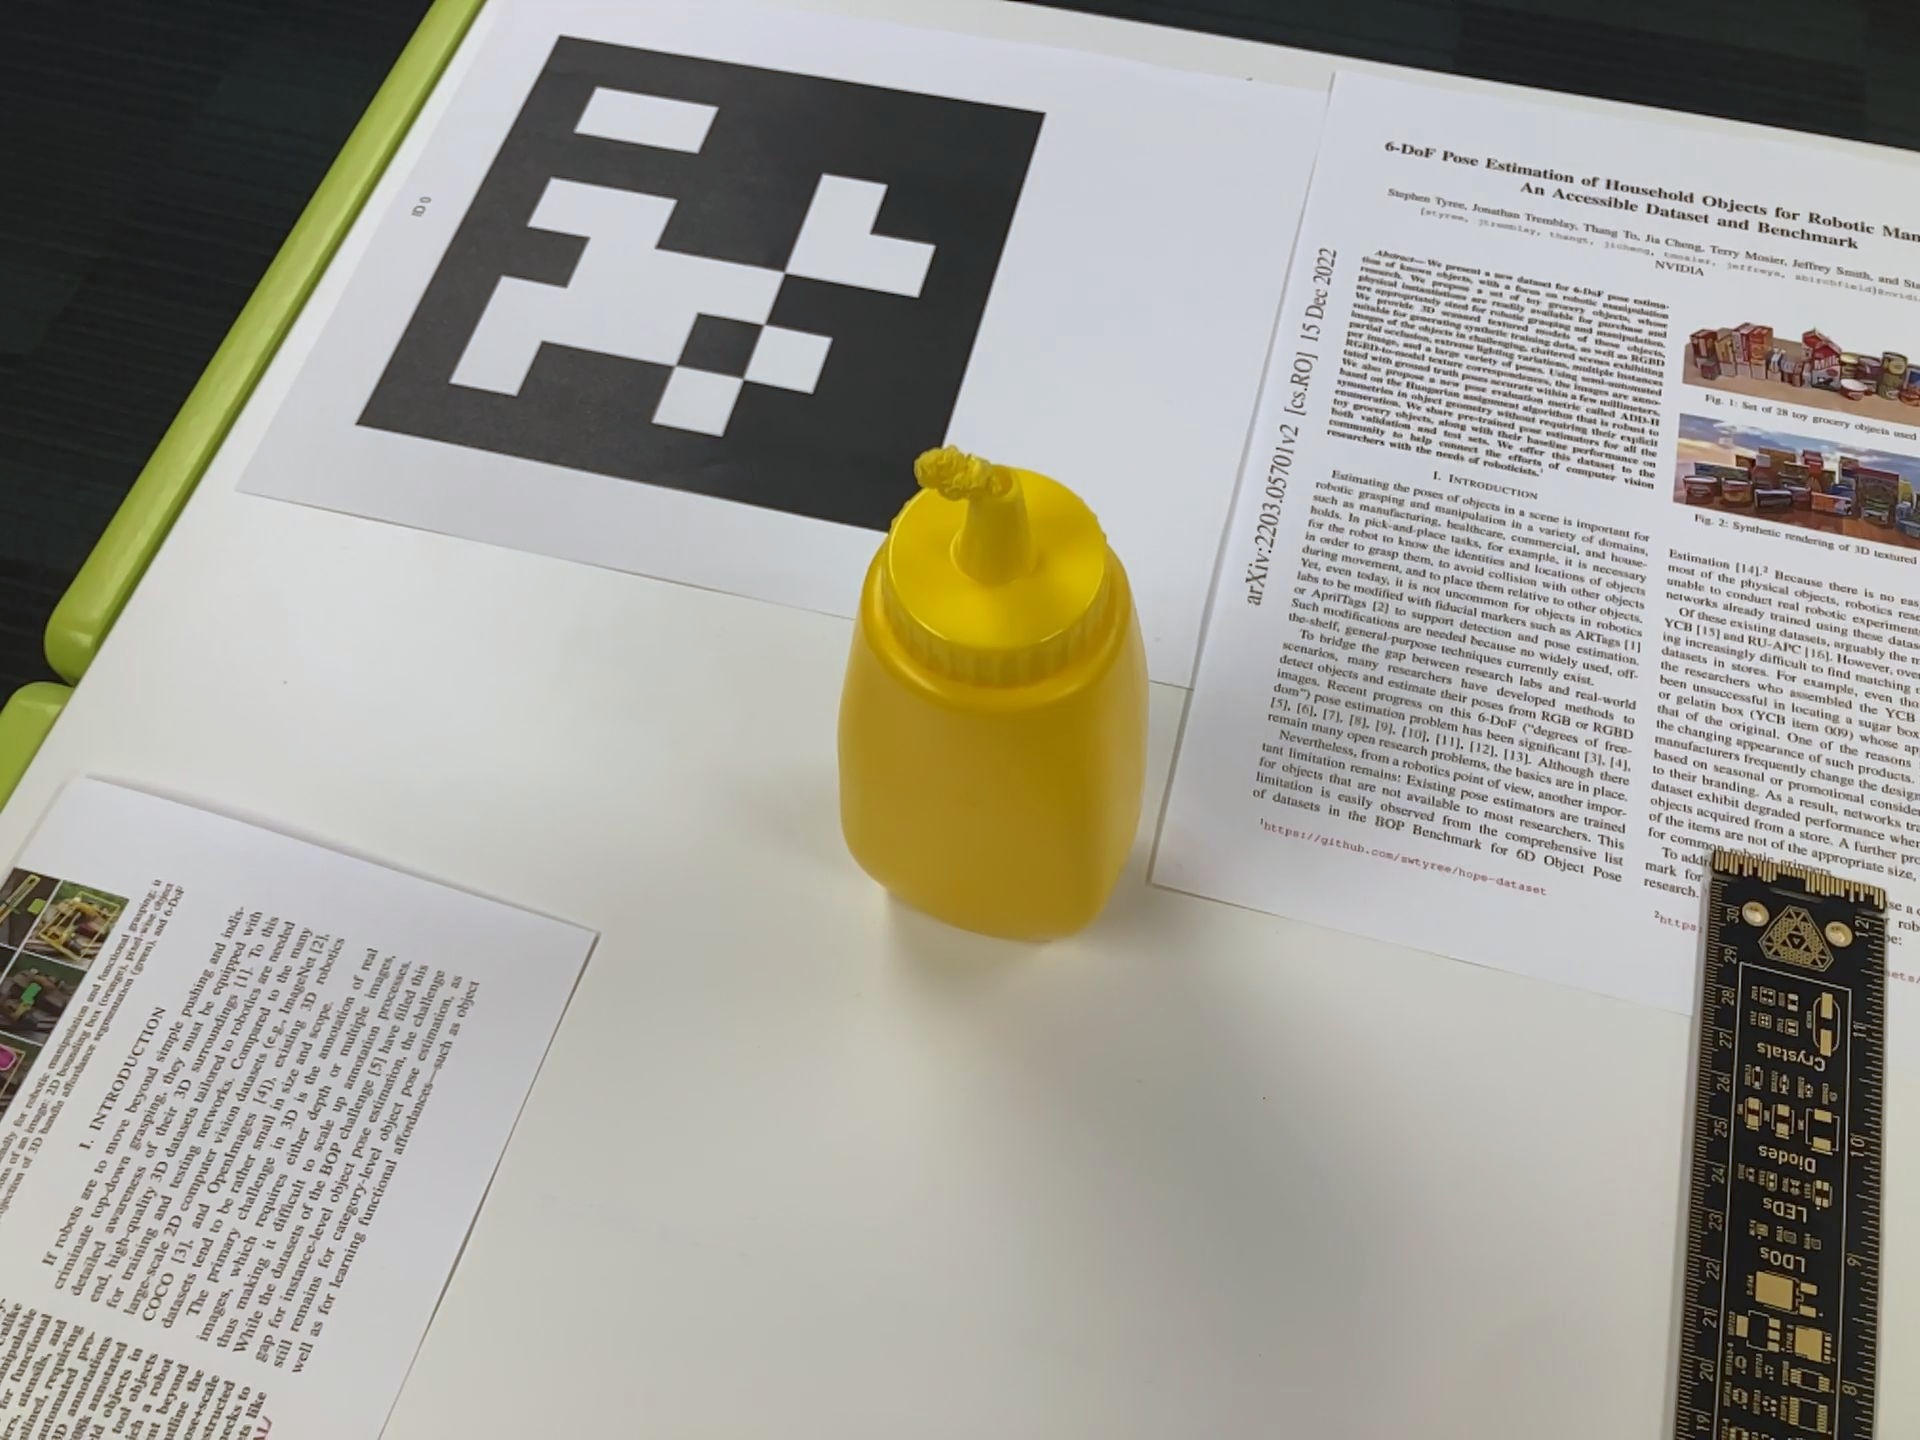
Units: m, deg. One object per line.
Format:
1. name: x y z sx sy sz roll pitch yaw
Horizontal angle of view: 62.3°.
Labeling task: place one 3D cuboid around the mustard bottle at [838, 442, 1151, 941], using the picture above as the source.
1. mustard bottle: 0.008 -0.005 0.312 0.065 0.160 0.049 17 63 9
